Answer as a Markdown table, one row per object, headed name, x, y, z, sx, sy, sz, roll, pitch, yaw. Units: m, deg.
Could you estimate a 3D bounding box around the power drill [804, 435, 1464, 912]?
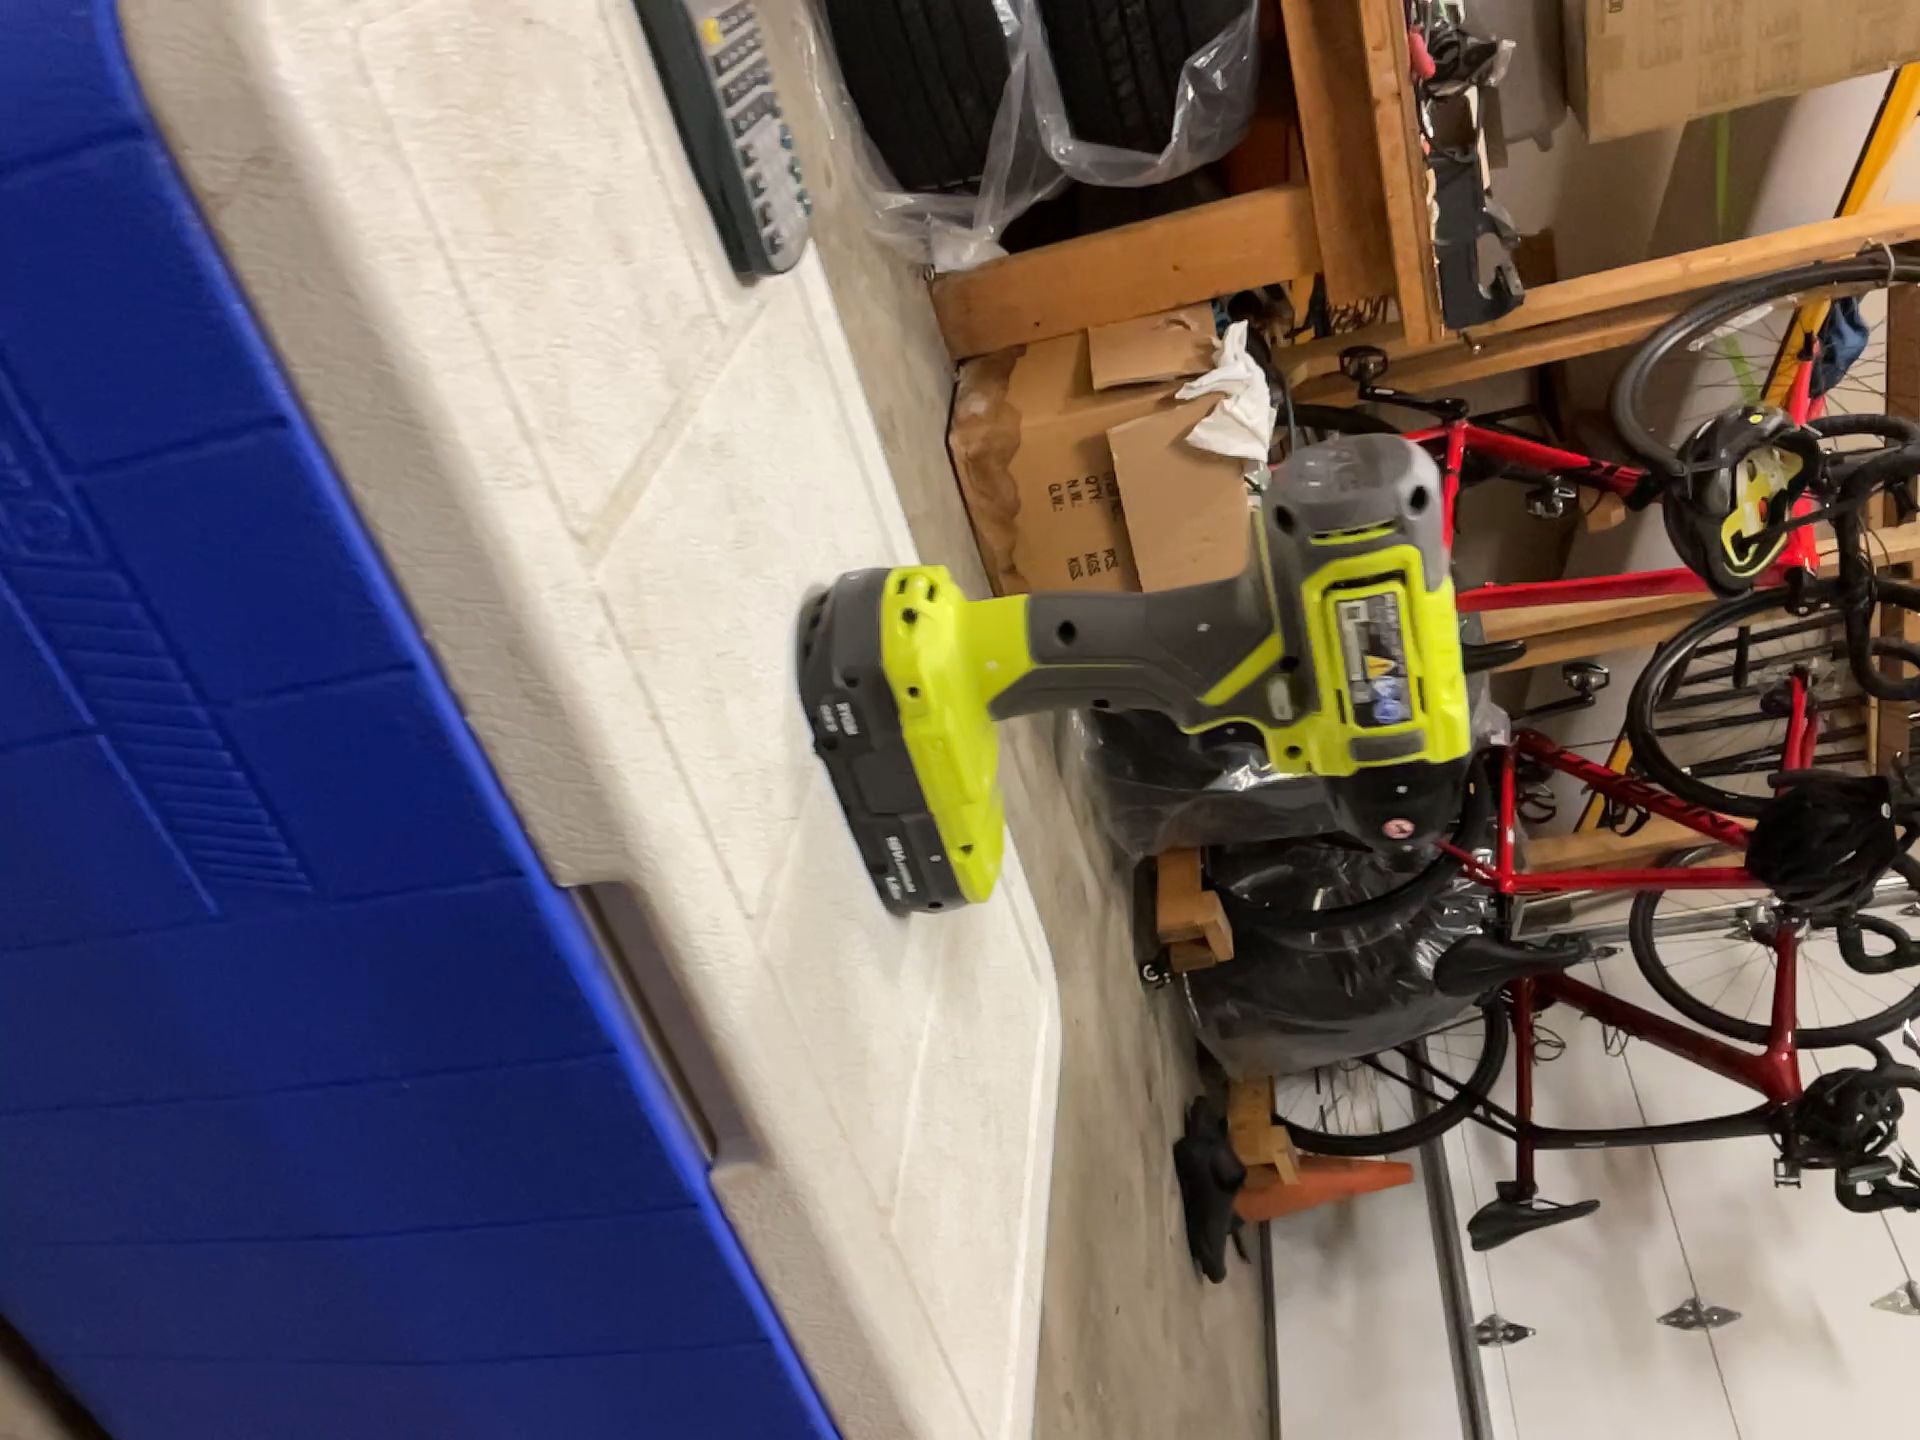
| name | x | y | z | sx | sy | sz | roll | pitch | yaw |
| --- | --- | --- | --- | --- | --- | --- | --- | --- | --- |
| power drill | 0.069 | -0.001 | 0.593 | 0.080 | 0.223 | 0.171 | -79 | 156 | -54 |
